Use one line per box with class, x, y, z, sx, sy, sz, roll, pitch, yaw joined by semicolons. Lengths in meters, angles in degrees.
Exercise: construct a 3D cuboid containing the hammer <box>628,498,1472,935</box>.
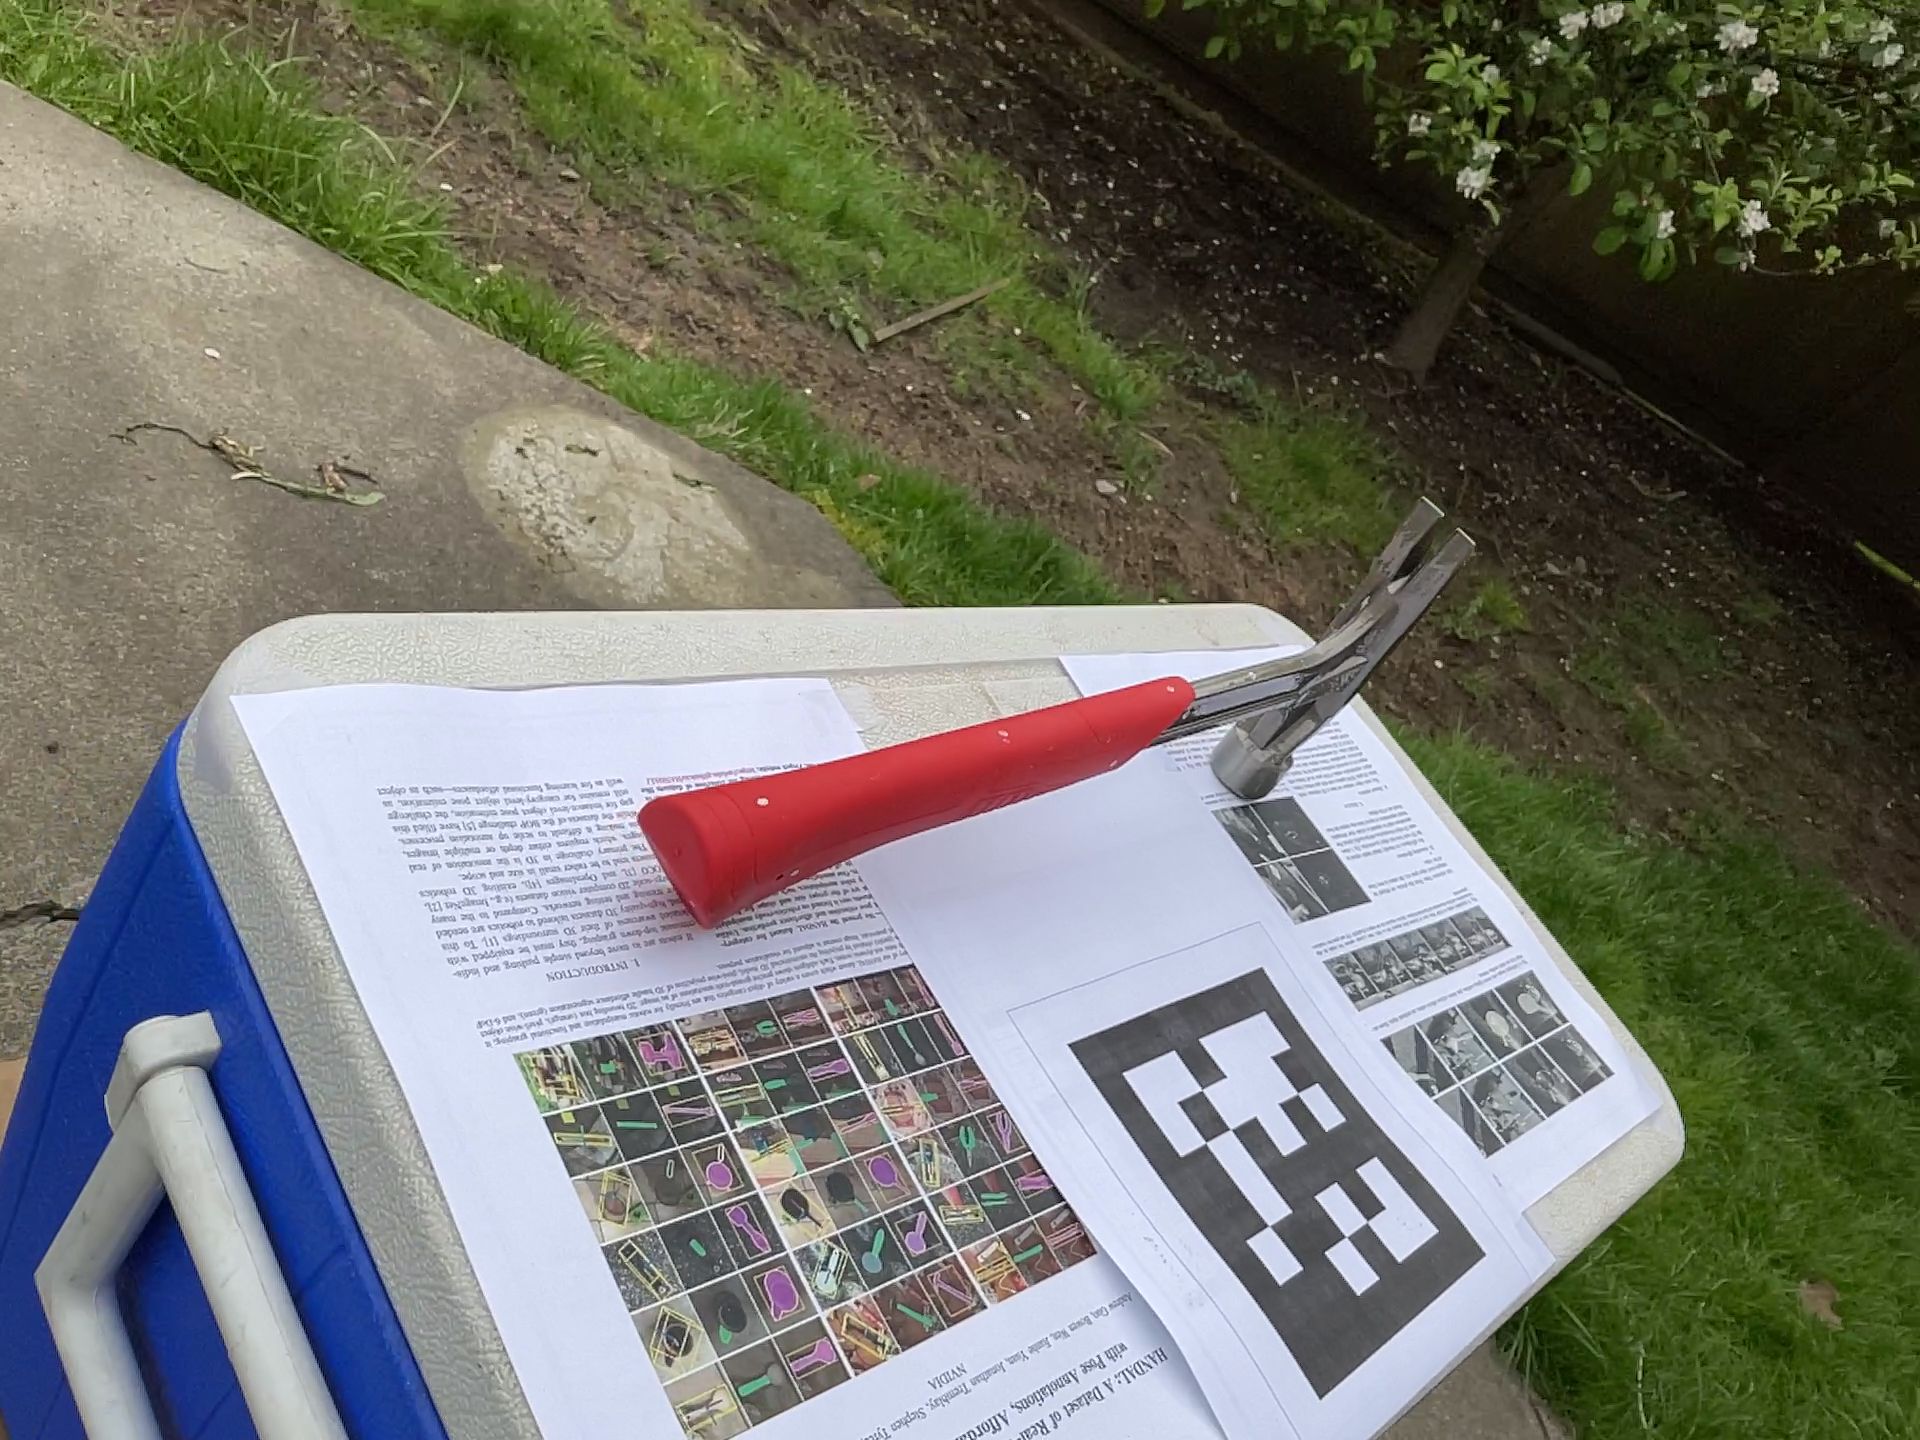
hammer;0.046;0.001;0.551;0.359;0.149;0.037;-14;55;-46
